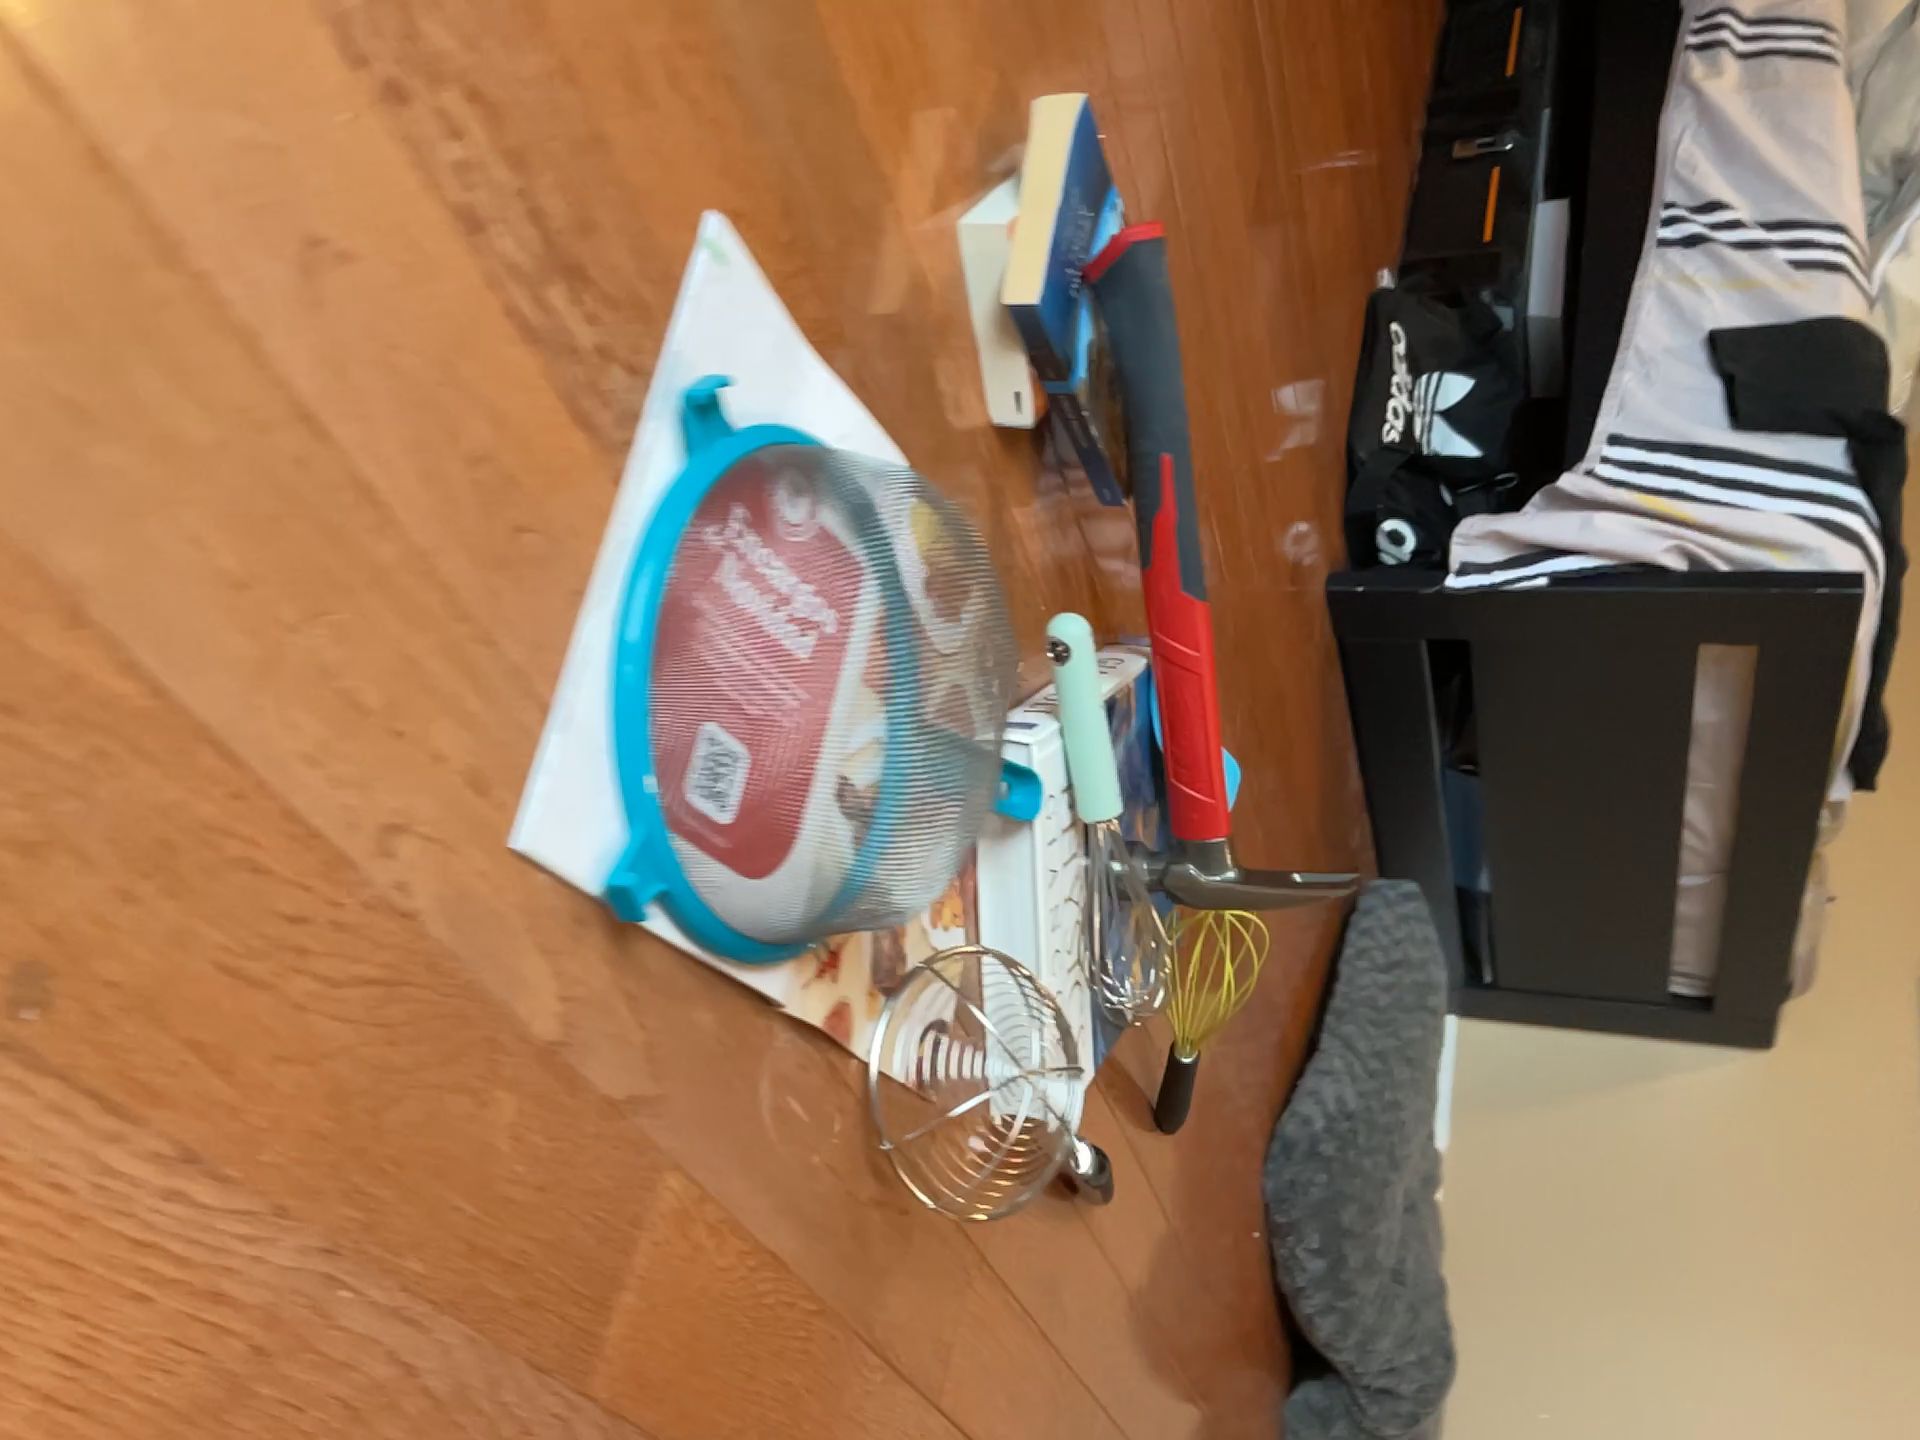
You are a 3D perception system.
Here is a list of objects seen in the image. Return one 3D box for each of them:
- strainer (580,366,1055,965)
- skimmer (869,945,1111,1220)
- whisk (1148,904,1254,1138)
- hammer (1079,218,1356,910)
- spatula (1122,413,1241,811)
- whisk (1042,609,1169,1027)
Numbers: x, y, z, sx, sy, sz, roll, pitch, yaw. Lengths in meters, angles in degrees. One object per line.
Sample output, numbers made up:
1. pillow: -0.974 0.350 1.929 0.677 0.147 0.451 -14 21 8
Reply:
1. strainer: -0.007 0.003 0.655 0.340 0.095 0.211 25 68 -58
2. skimmer: 0.031 0.226 0.878 0.363 0.090 0.127 69 28 -64
3. whisk: 0.158 0.216 1.103 0.311 0.067 0.080 88 2 -49
4. hammer: 0.131 -0.076 0.875 0.038 0.143 0.386 -46 131 -63
5. spatula: 0.130 -0.080 0.973 0.082 0.044 0.317 -53 139 -52
6. whisk: 0.077 0.057 0.866 0.059 0.057 0.246 -23 112 -32
